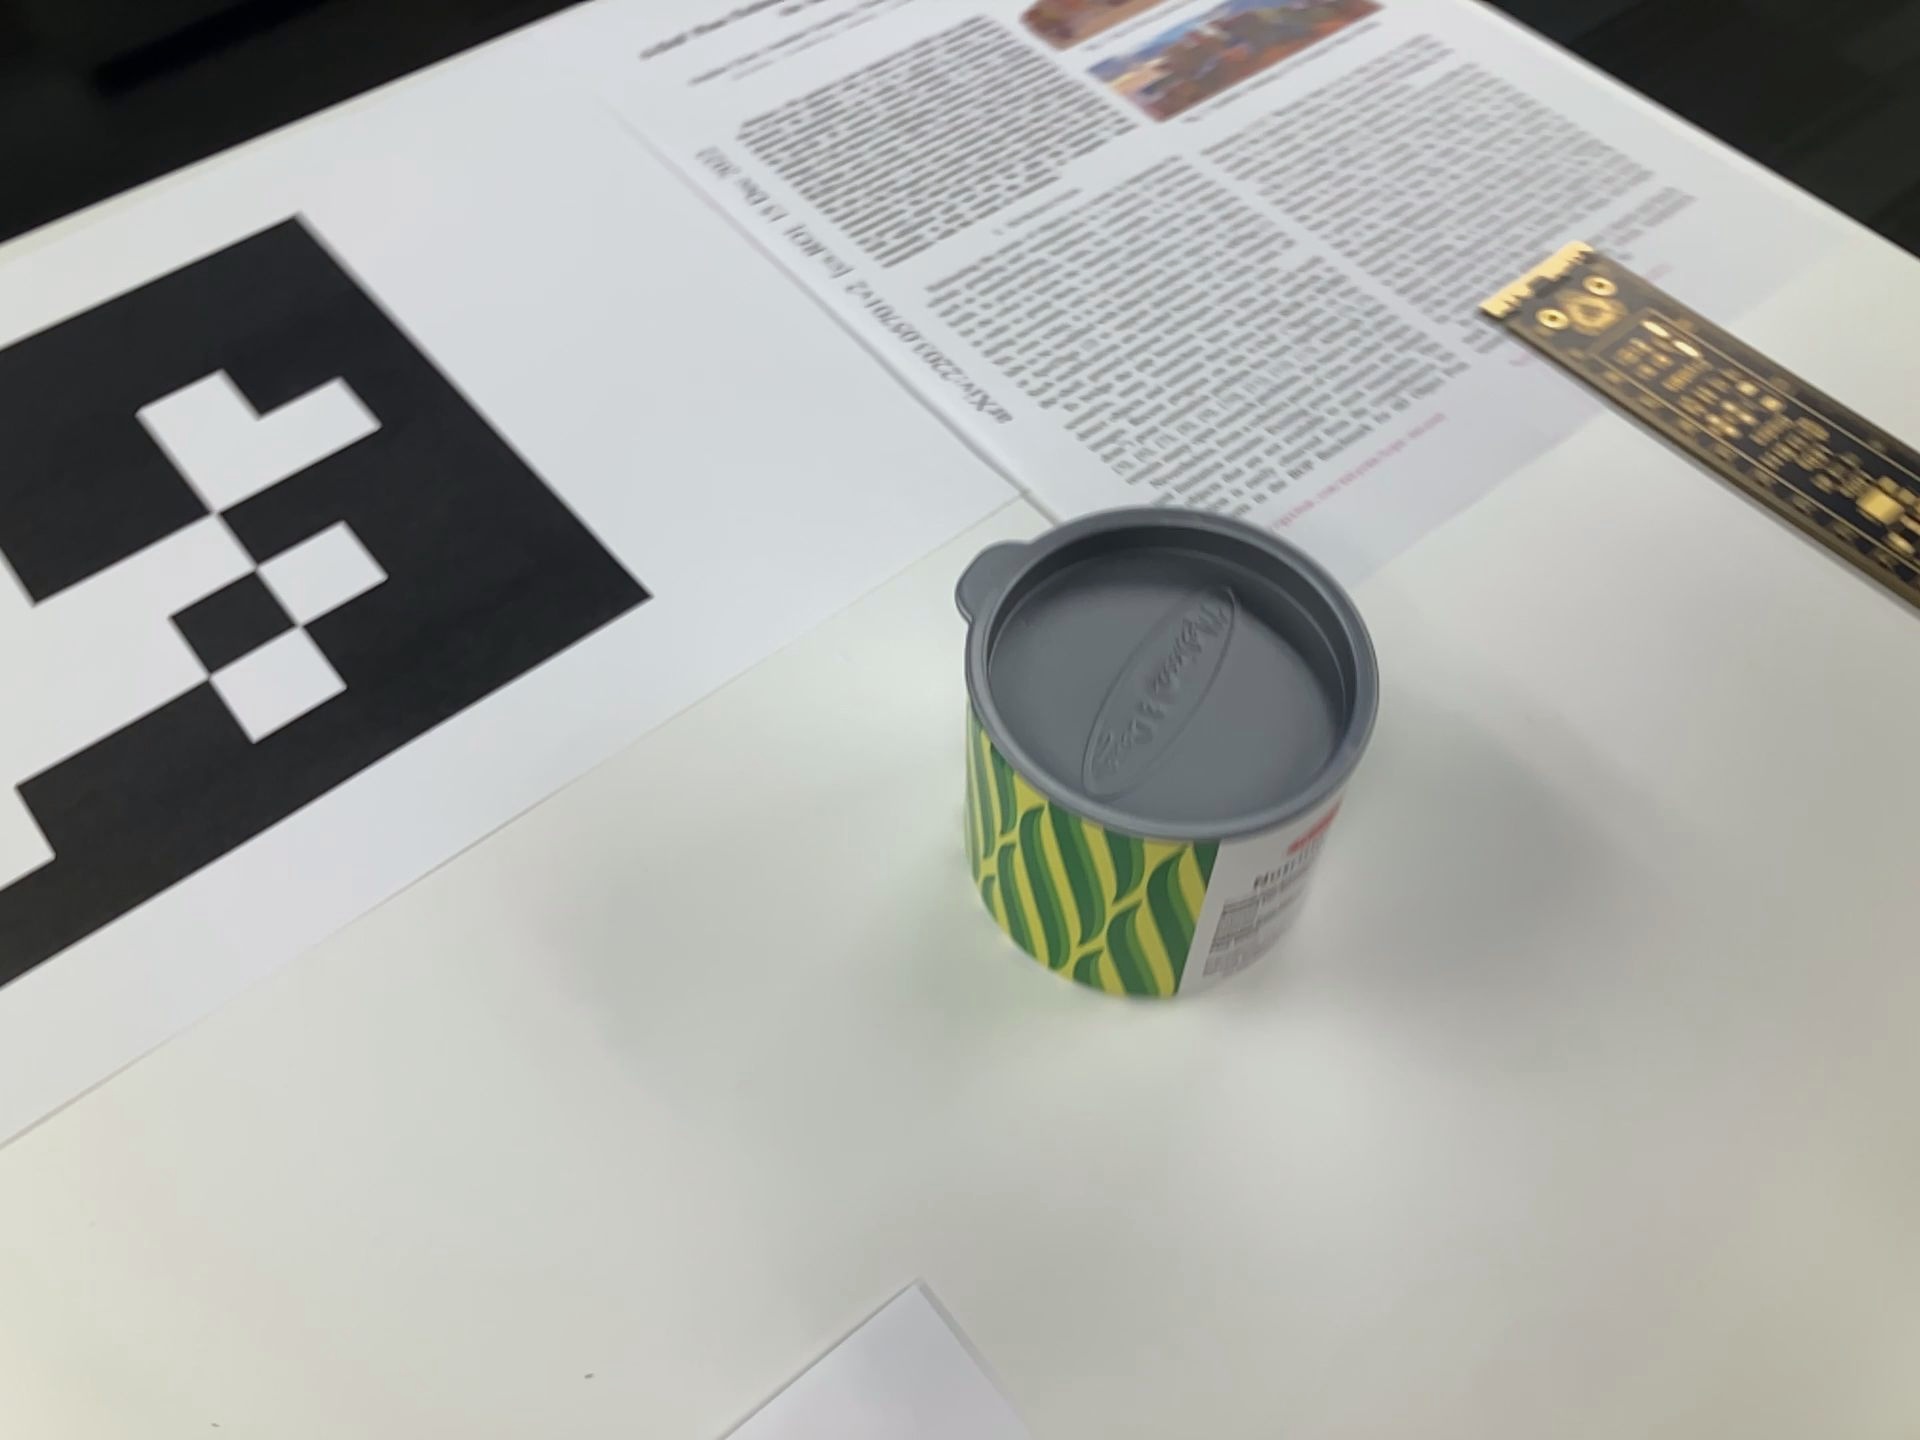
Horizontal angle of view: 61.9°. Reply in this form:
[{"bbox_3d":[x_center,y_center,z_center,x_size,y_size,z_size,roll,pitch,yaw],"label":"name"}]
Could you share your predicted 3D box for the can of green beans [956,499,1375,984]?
[{"bbox_3d":[0.033,0.005,0.283,0.071,0.058,0.071,0,55,-1],"label":"can of green beans"}]
